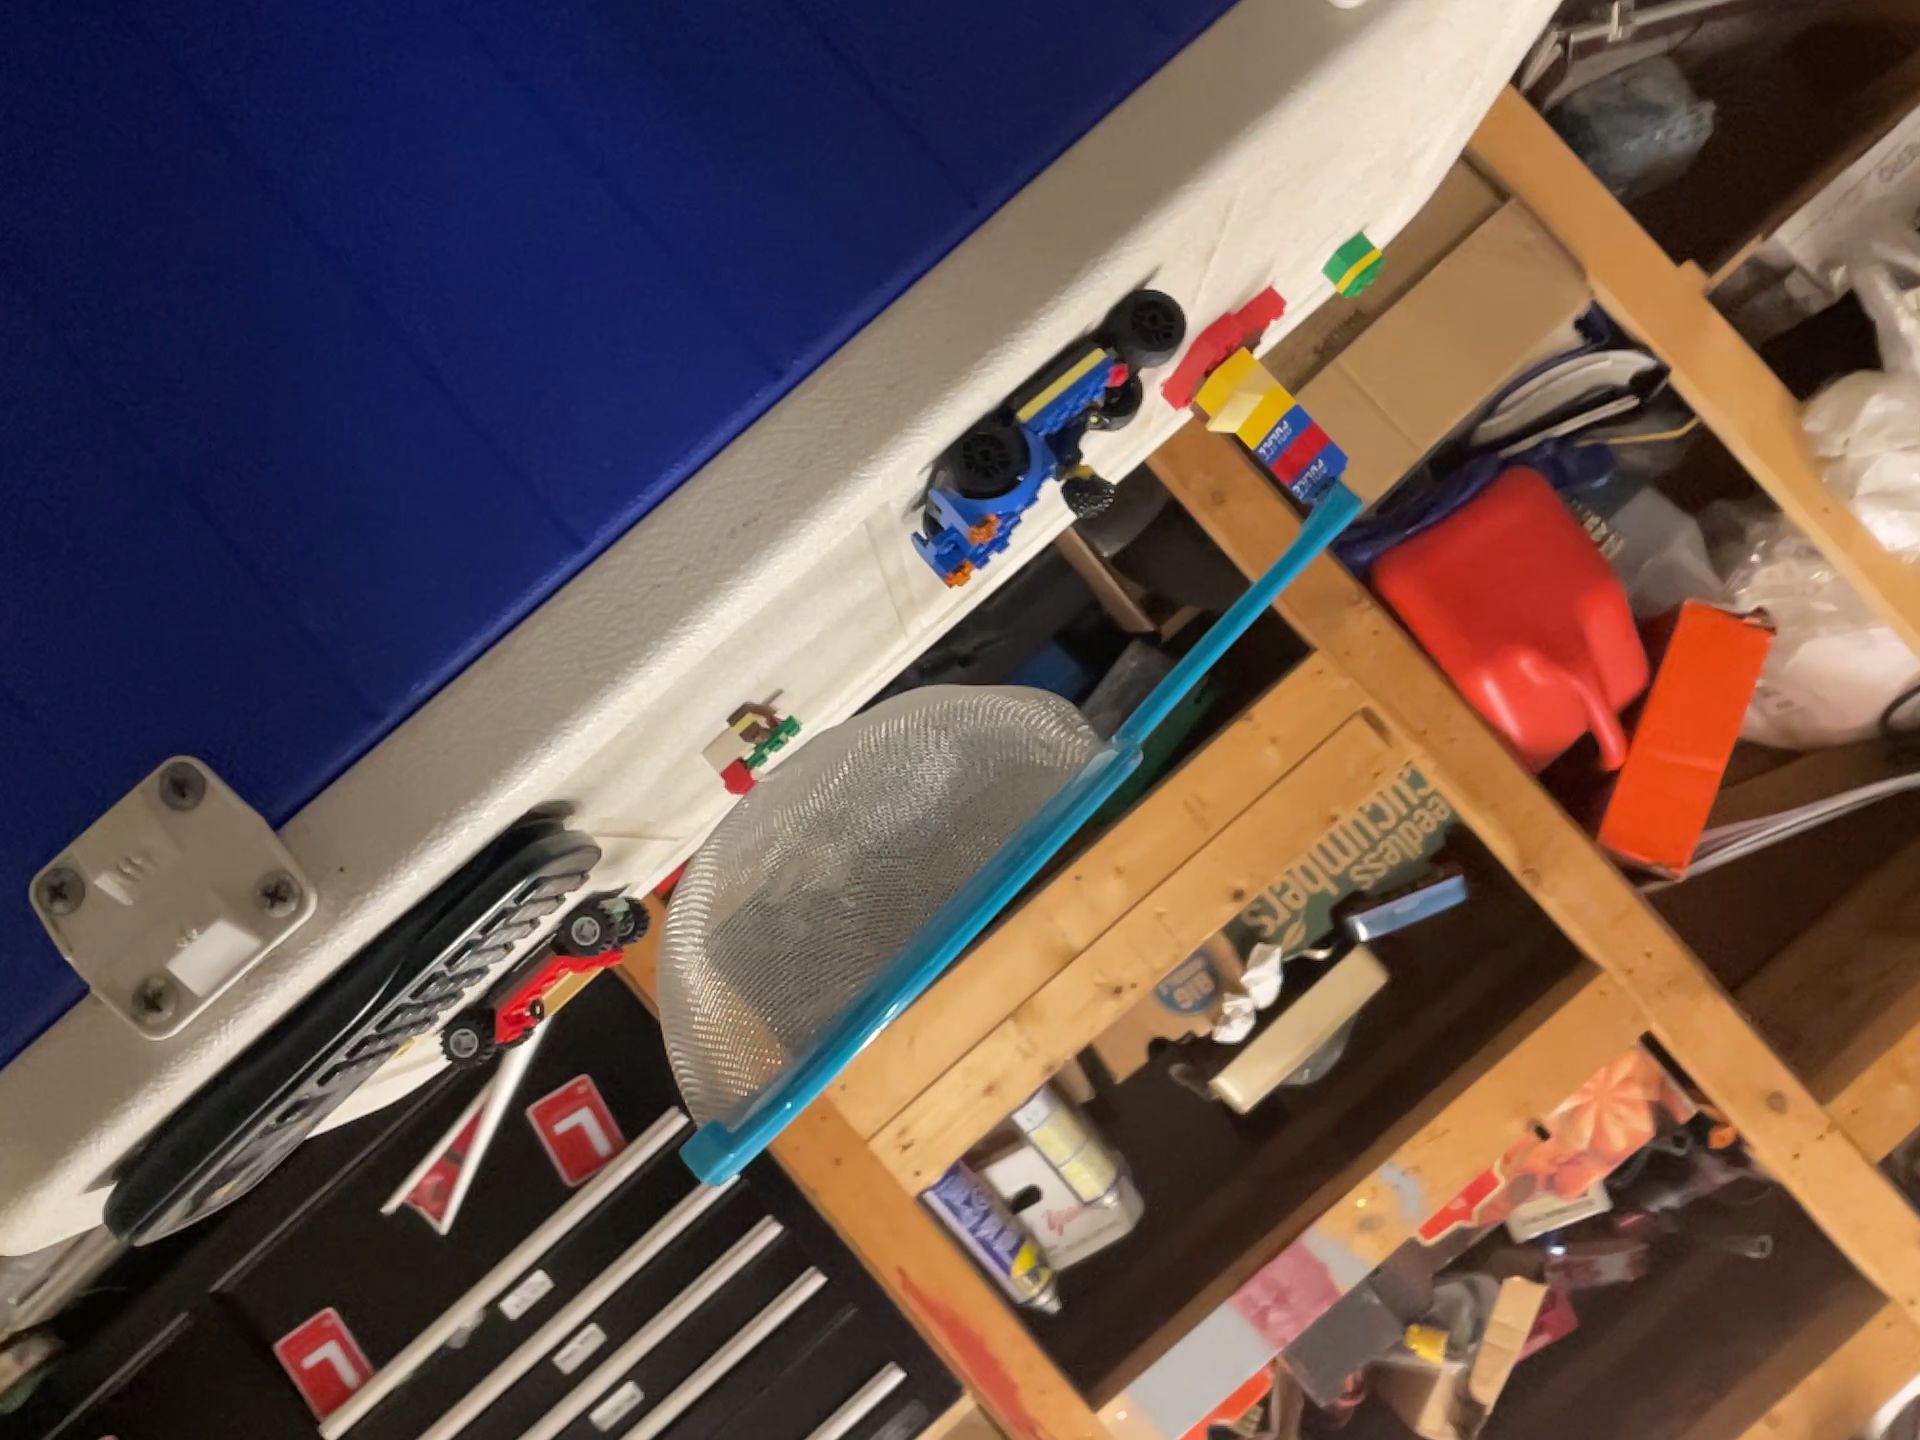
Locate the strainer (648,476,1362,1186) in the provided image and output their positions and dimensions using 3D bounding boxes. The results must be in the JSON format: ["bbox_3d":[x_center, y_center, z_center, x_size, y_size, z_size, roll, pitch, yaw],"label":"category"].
[{"bbox_3d":[0.004,0.009,0.573,0.340,0.095,0.211,-46,175,-10],"label":"strainer"}]
